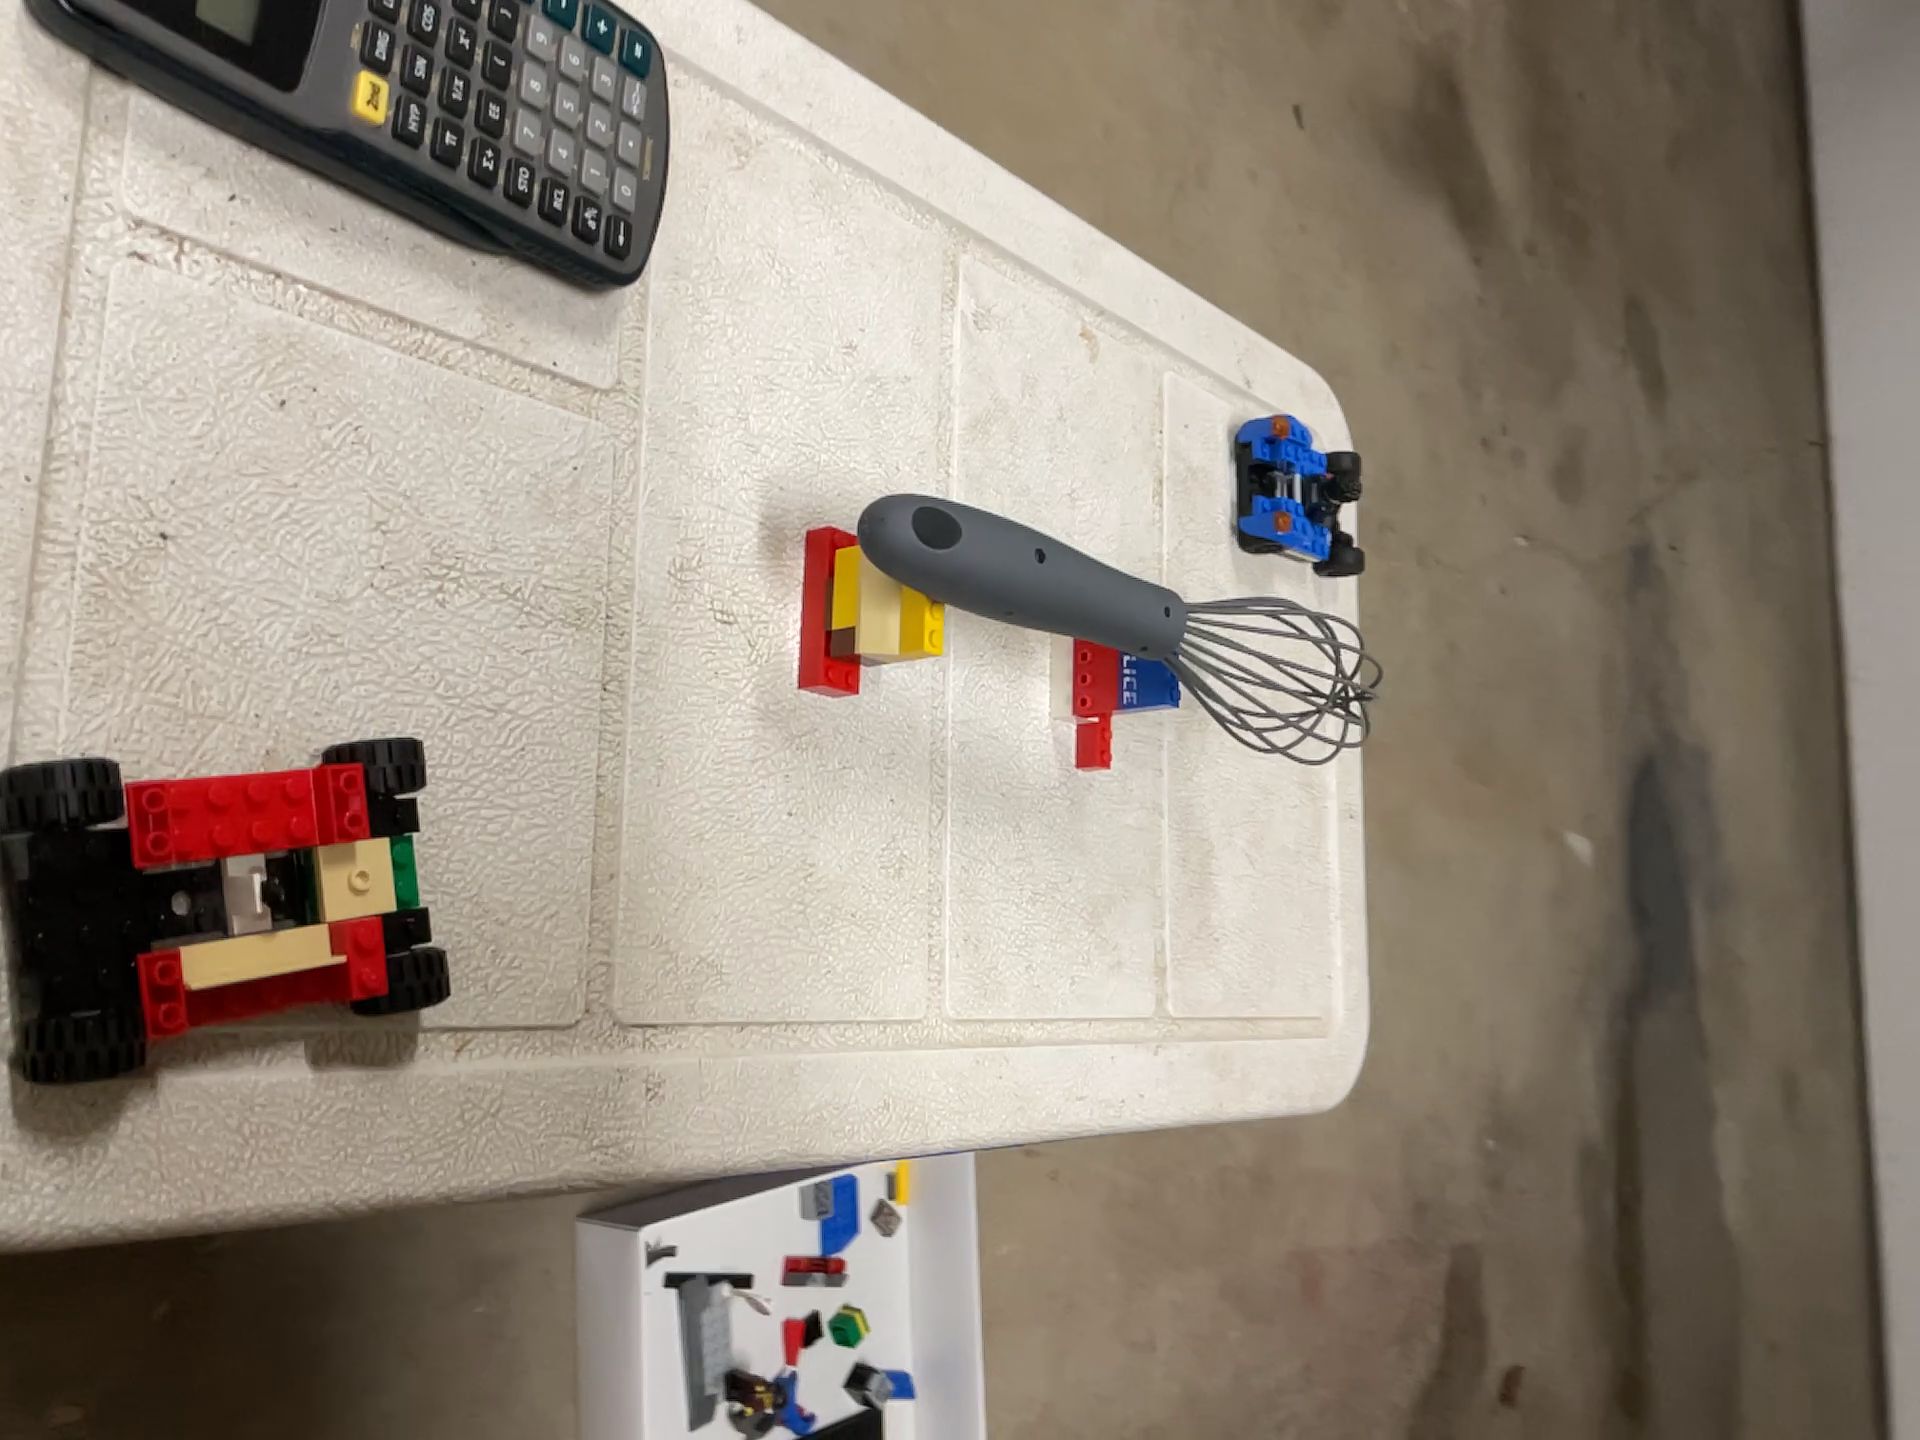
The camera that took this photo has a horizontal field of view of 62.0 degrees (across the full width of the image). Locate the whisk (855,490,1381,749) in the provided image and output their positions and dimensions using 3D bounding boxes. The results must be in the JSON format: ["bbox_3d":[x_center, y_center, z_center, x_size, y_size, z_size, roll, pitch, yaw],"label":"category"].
[{"bbox_3d":[0.058,-0.031,0.495,0.239,0.055,0.055,15,71,-44],"label":"whisk"}]
